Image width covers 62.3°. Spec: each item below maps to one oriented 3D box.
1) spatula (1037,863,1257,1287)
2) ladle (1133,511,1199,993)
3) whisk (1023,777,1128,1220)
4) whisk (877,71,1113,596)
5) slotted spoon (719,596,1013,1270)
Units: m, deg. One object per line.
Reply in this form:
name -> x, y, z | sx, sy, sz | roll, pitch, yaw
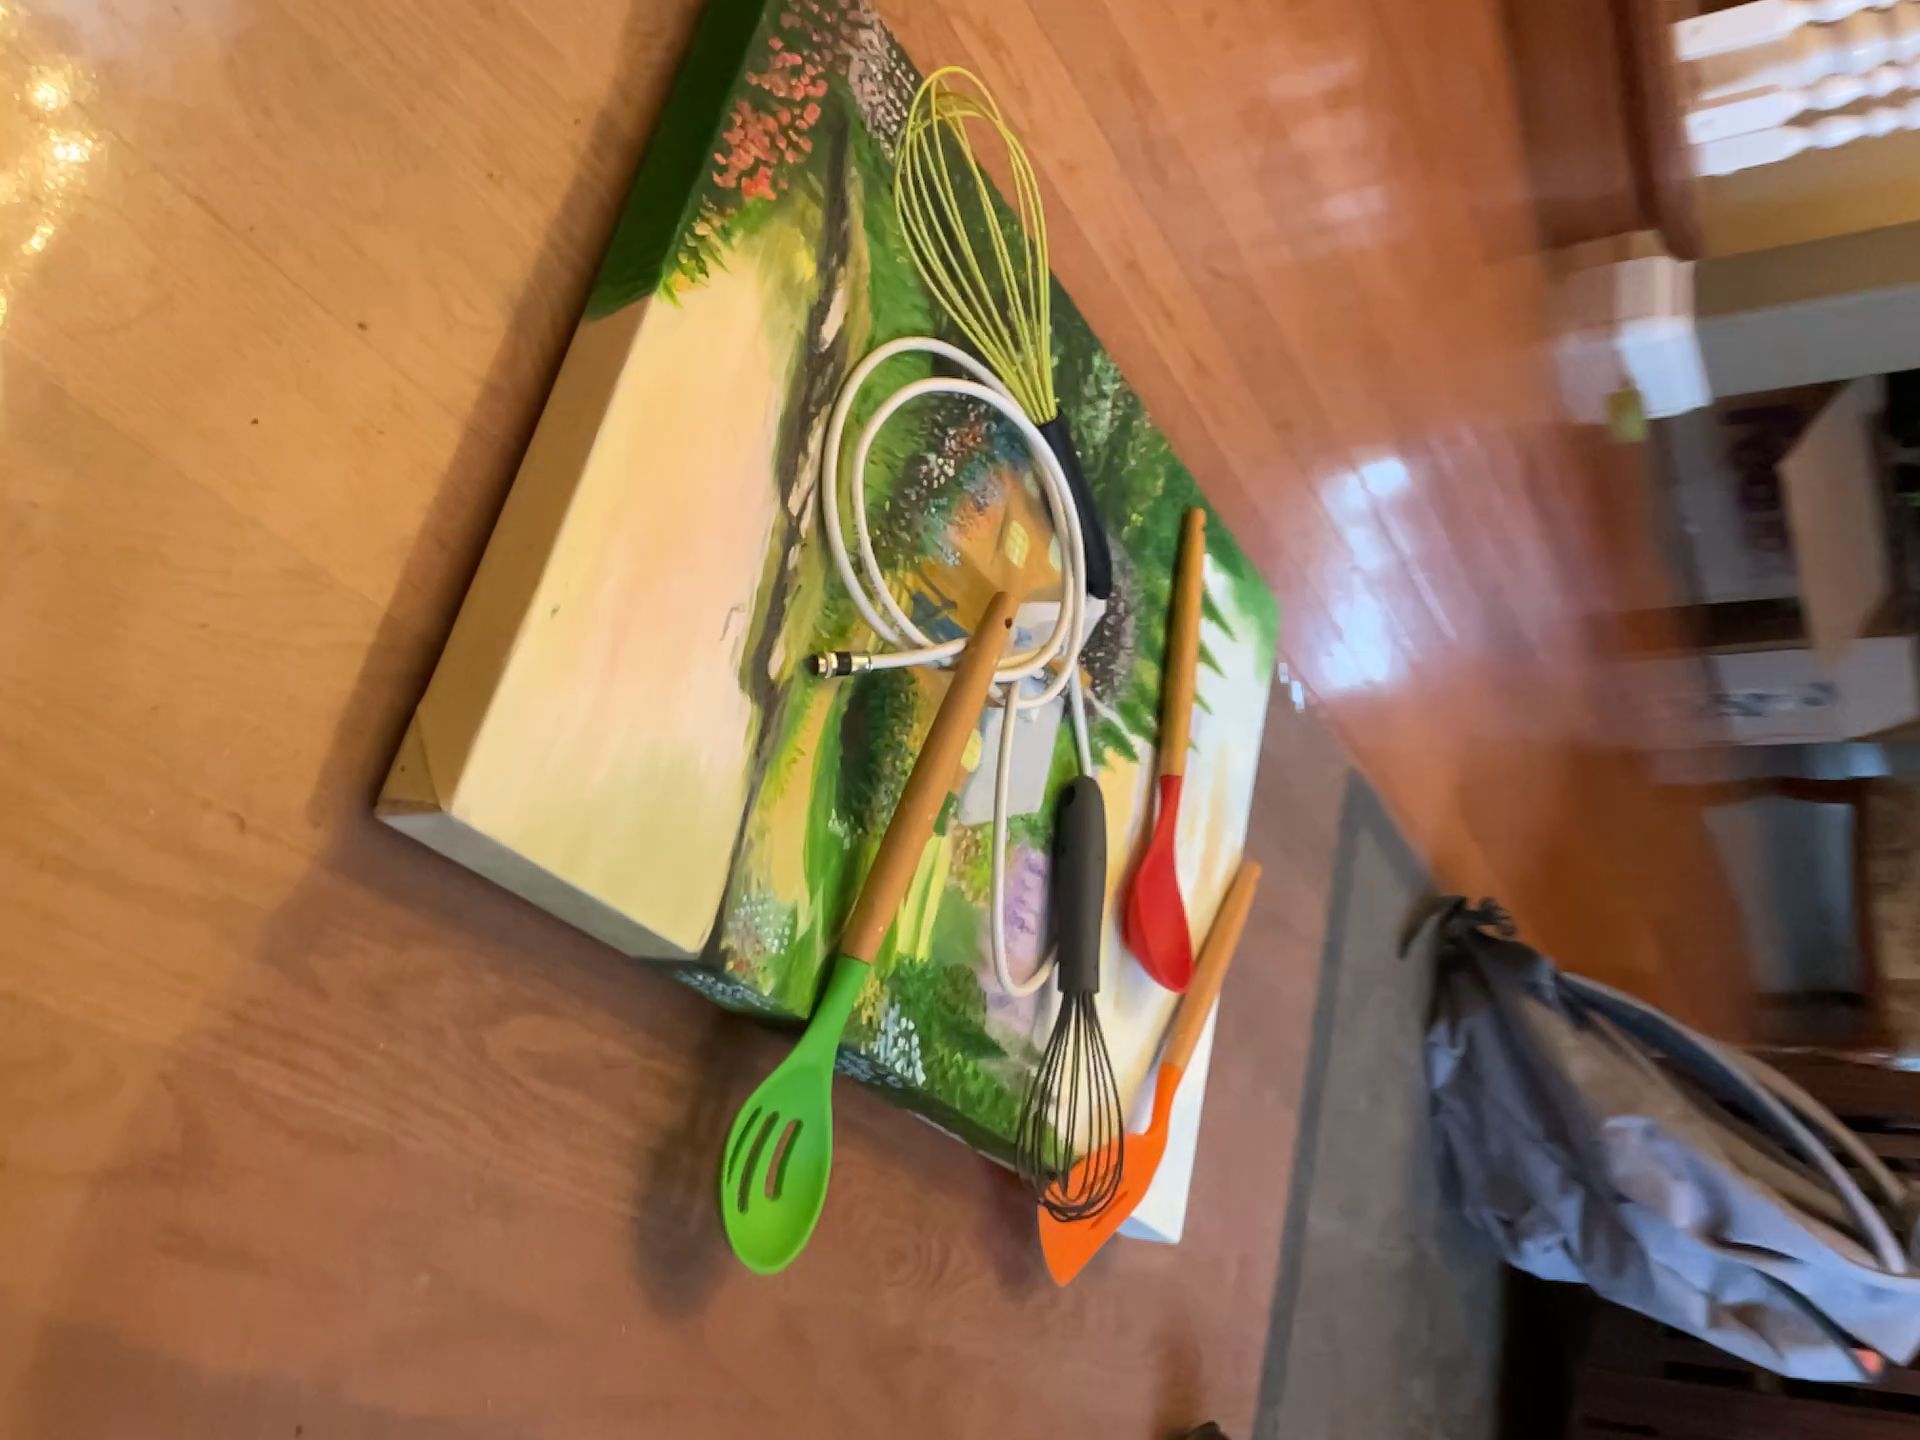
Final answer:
spatula -> 0.126, 0.196, 0.971 | 0.323, 0.041, 0.080 | -57, 143, -45
ladle -> 0.134, 0.012, 0.986 | 0.069, 0.031, 0.316 | 34, 57, -52
whisk -> 0.064, 0.143, 0.849 | 0.055, 0.055, 0.239 | 44, 45, -59
whisk -> 0.031, -0.185, 0.832 | 0.080, 0.067, 0.311 | -58, 138, -35
slotted spoon -> -0.037, 0.084, 0.707 | 0.070, 0.031, 0.314 | 40, 67, -47
